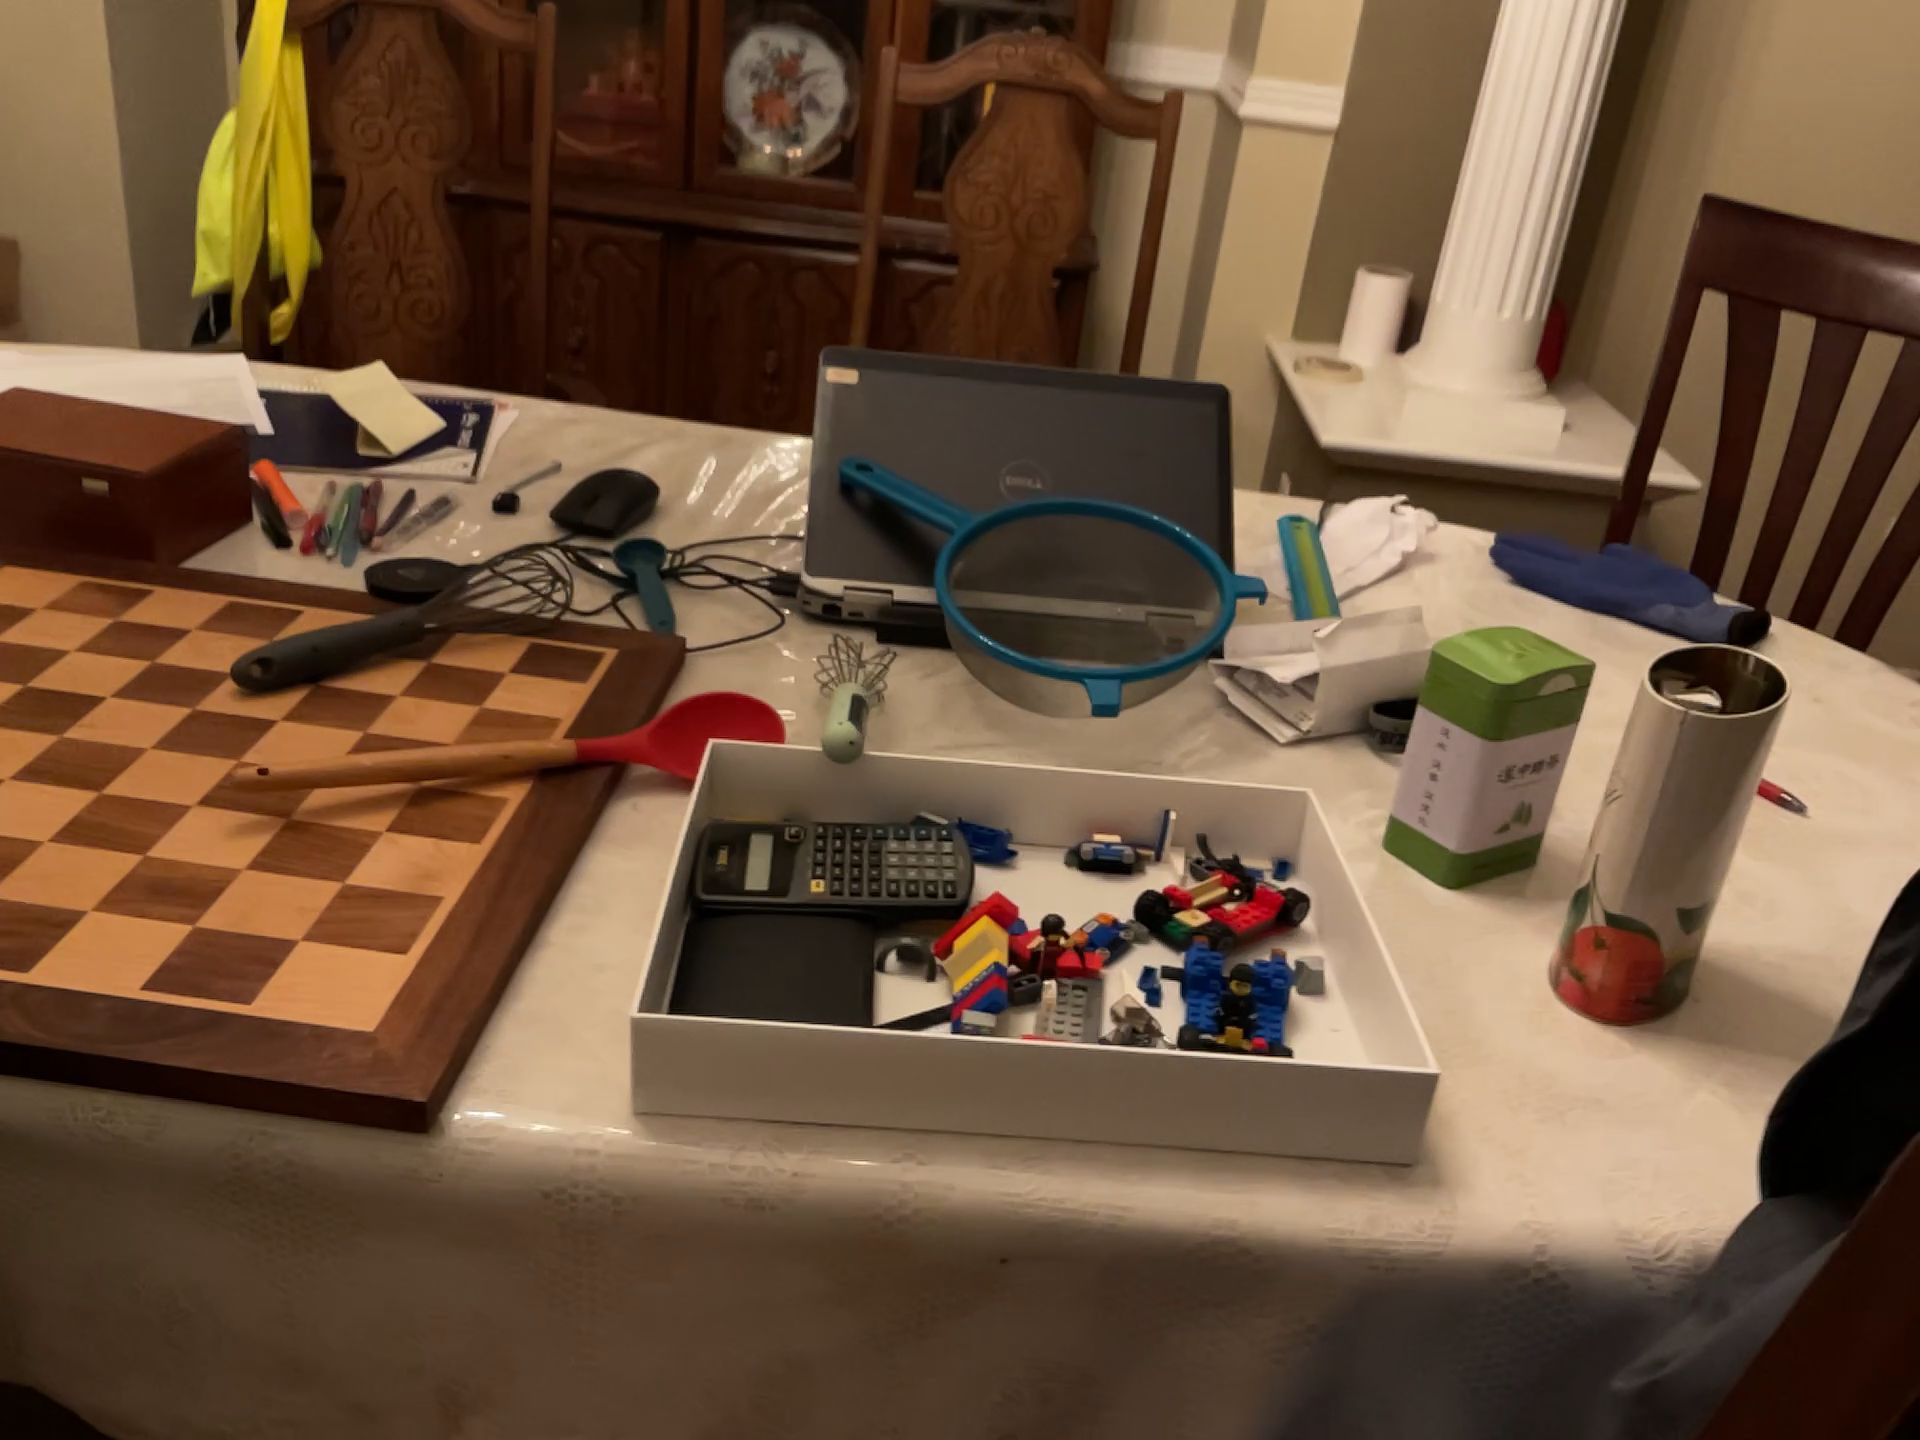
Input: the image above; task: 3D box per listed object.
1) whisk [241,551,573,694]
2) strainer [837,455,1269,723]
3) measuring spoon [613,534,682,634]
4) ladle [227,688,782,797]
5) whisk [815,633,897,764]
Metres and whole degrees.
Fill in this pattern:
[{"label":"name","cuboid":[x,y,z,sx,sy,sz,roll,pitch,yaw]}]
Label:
[{"label":"whisk","cuboid":[-0.352,-0.061,1.035,0.055,0.055,0.238,13,28,42]},{"label":"strainer","cuboid":[0.036,-0.093,1.155,0.341,0.095,0.211,30,47,30]},{"label":"measuring spoon","cuboid":[-0.230,-0.097,1.198,0.042,0.021,0.129,-12,43,-18]},{"label":"ladle","cuboid":[-0.248,0.021,0.910,0.315,0.031,0.069,-6,51,-34]},{"label":"whisk","cuboid":[-0.067,-0.013,0.991,0.059,0.057,0.246,-24,13,4]}]
